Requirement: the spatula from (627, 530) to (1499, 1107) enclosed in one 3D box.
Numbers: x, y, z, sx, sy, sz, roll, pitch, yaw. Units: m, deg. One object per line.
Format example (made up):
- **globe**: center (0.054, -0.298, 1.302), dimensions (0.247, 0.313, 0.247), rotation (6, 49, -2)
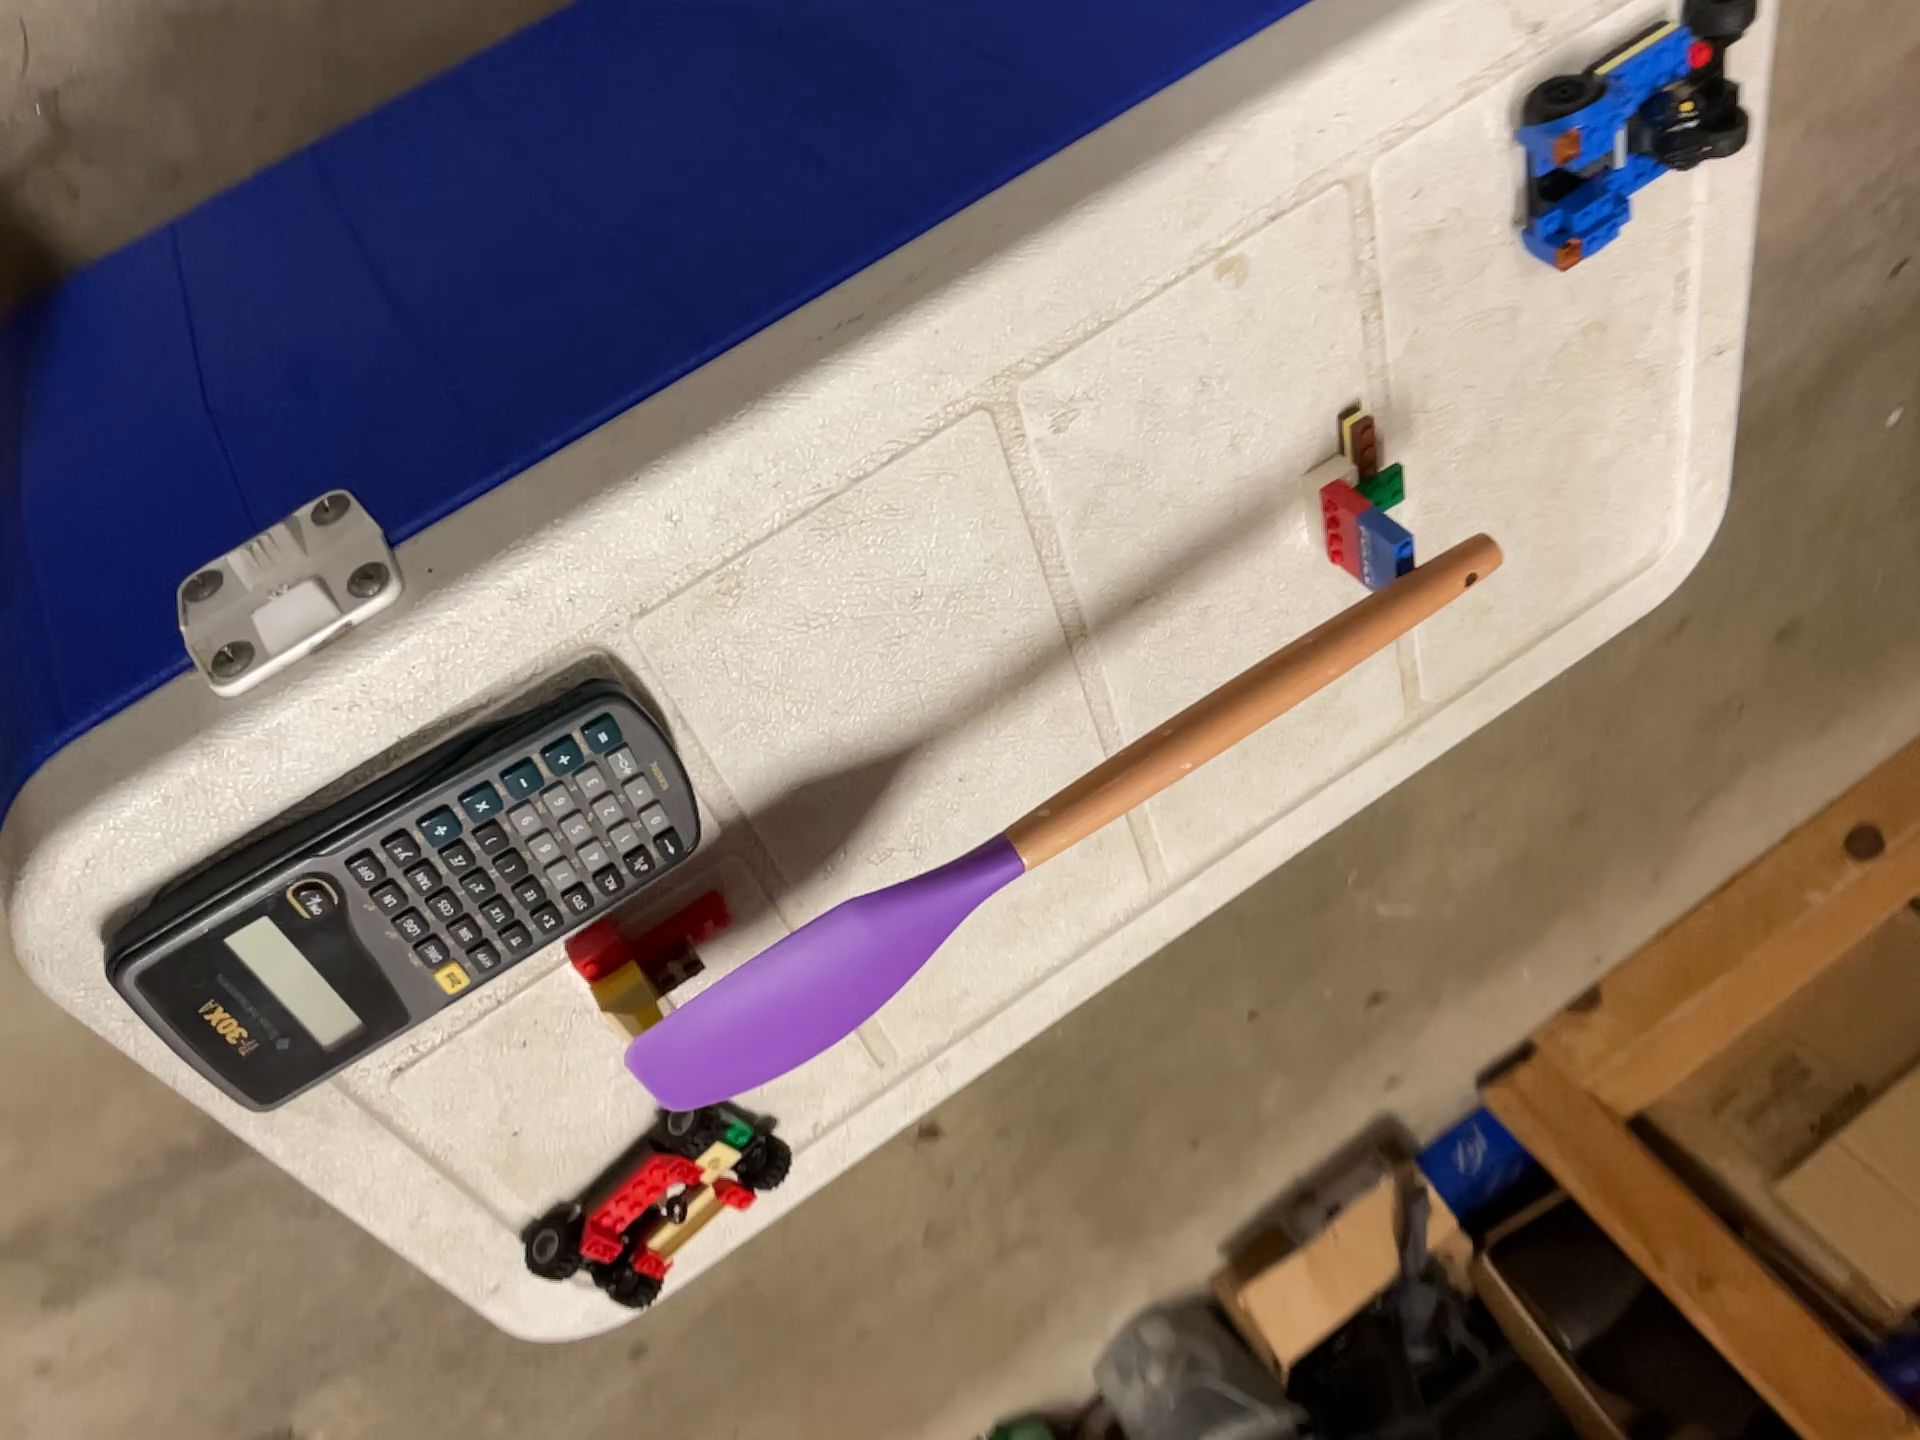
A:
- **spatula**: center (0.040, 0.028, 0.502), dimensions (0.316, 0.018, 0.059), rotation (-33, 137, -6)
